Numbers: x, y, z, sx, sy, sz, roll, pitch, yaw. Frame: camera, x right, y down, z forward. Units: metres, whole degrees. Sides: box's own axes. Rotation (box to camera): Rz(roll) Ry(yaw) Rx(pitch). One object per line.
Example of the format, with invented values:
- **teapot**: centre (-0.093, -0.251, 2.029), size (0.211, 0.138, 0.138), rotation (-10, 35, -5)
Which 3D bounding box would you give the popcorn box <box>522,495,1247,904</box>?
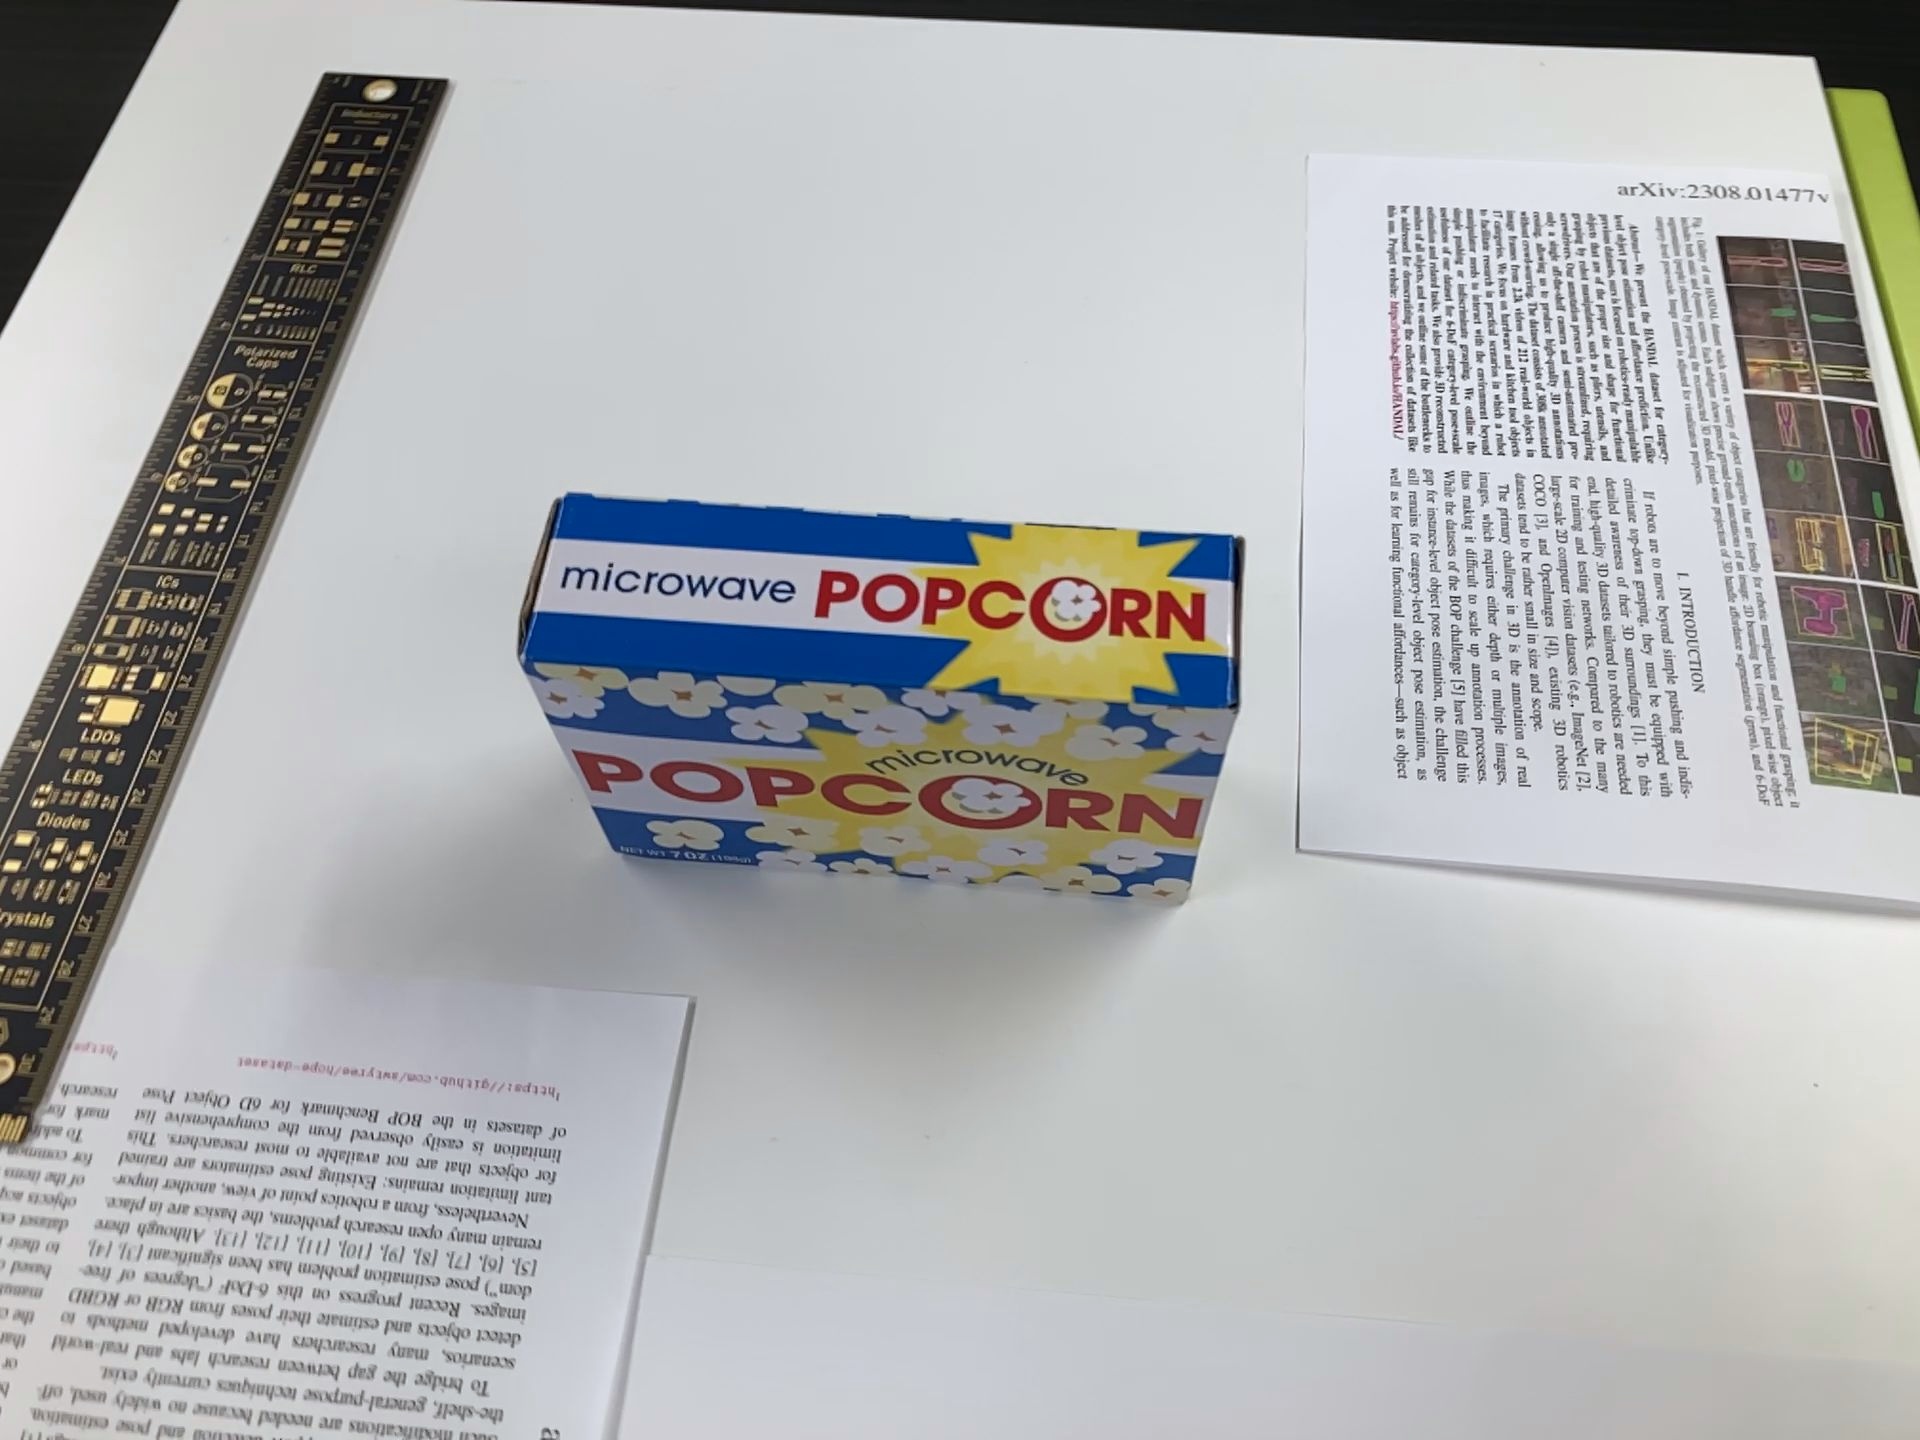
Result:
- **popcorn box**: centre (-0.013, -0.002, 0.314), size (0.126, 0.085, 0.038), rotation (4, 60, 4)
